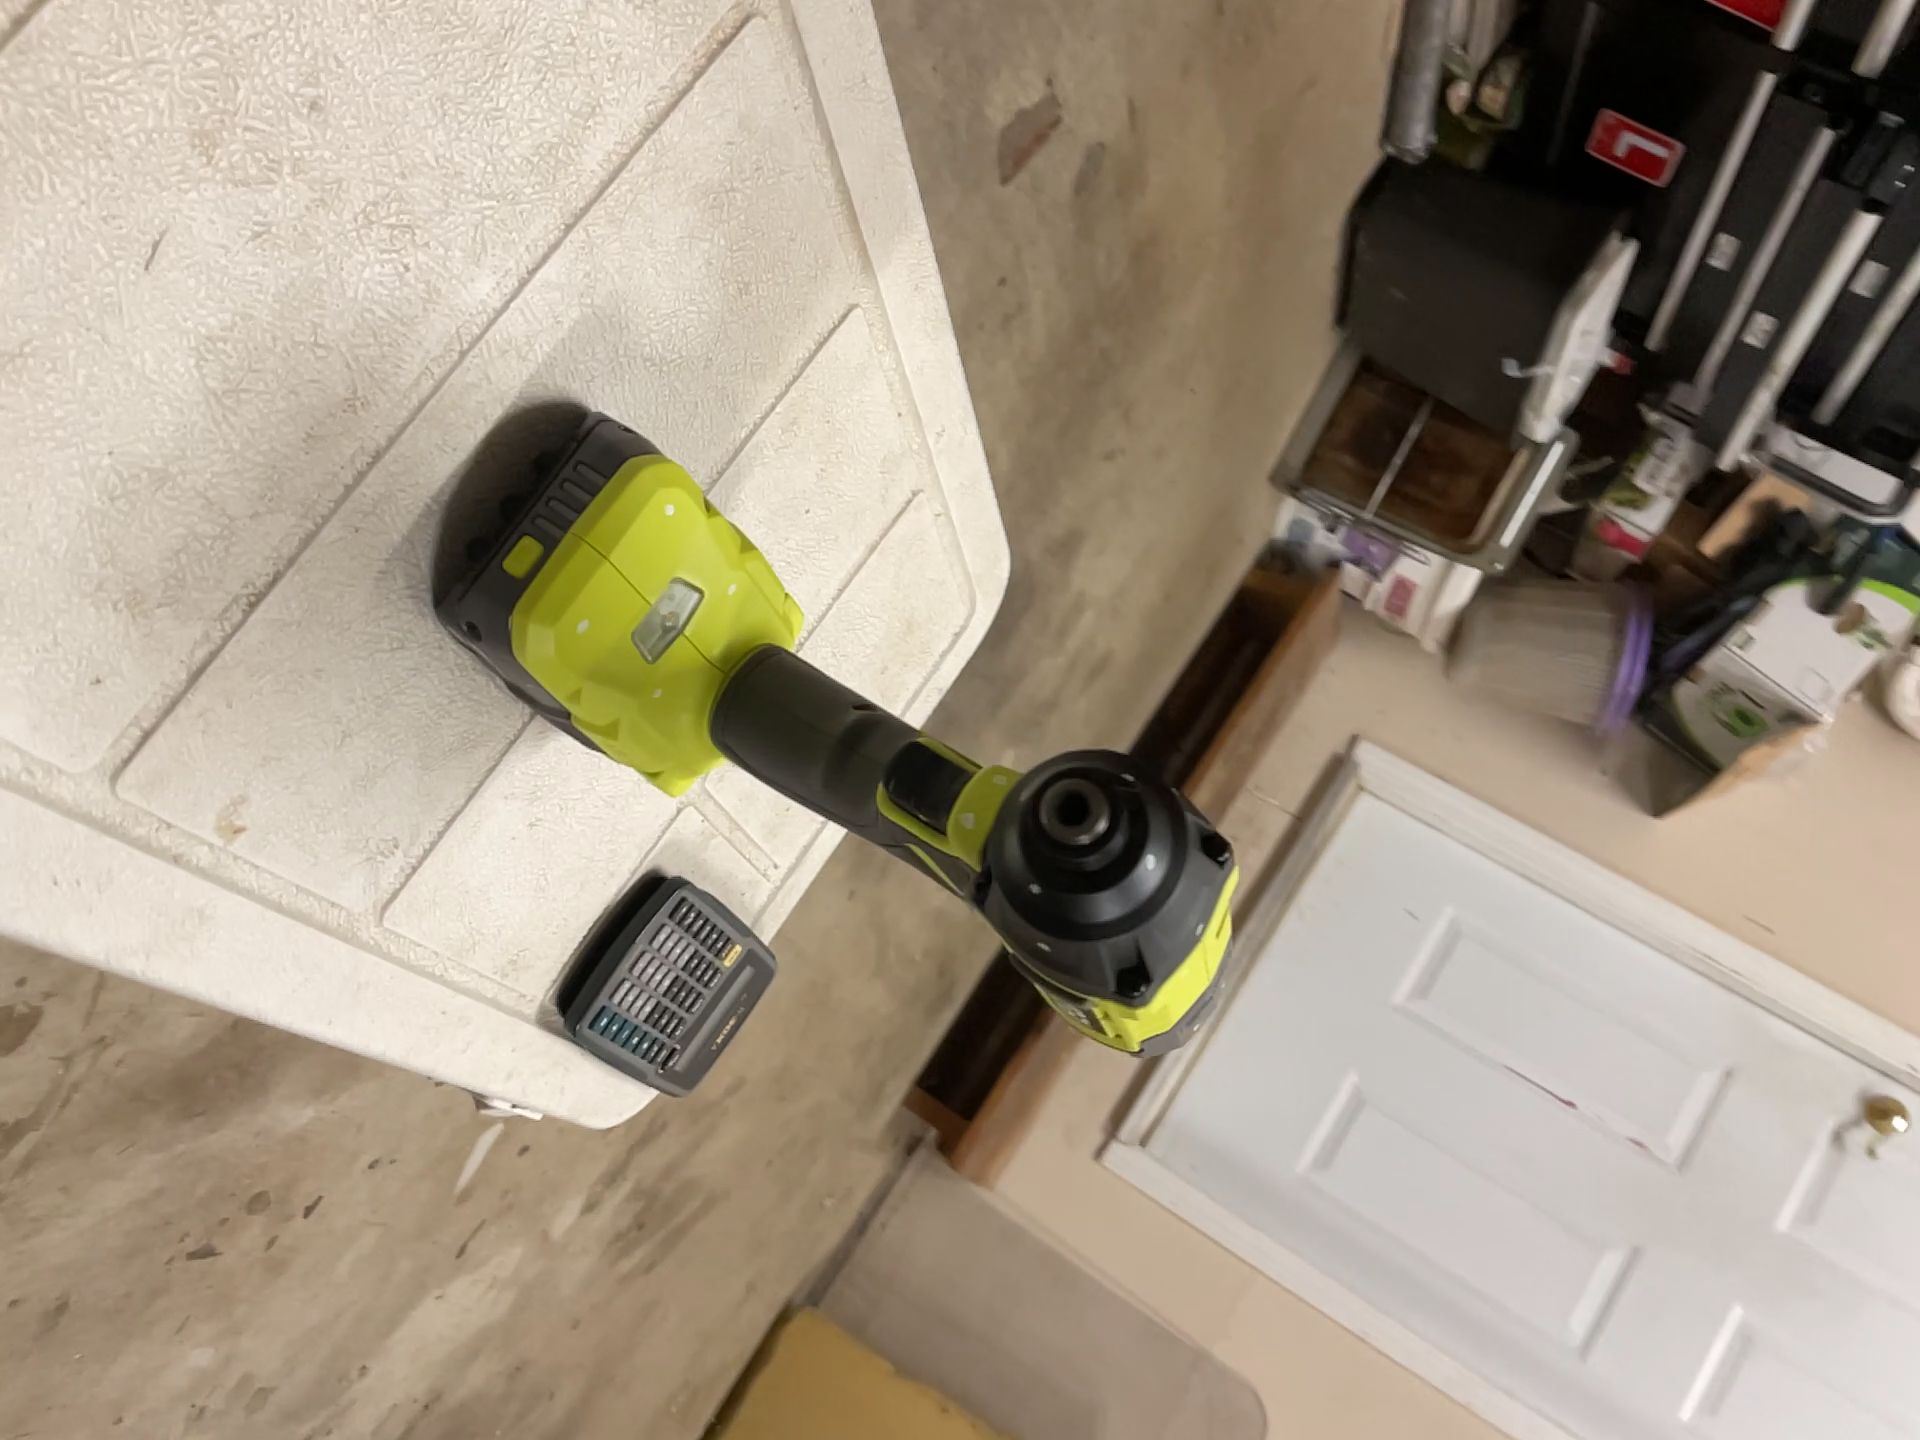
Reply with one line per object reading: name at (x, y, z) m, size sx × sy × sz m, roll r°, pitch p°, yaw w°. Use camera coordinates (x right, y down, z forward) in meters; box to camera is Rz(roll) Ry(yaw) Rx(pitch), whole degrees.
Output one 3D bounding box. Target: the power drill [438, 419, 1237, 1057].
power drill at (-0.028, 0.008, 0.450) m, size 0.080 × 0.223 × 0.171 m, roll -57°, pitch 161°, yaw -11°
